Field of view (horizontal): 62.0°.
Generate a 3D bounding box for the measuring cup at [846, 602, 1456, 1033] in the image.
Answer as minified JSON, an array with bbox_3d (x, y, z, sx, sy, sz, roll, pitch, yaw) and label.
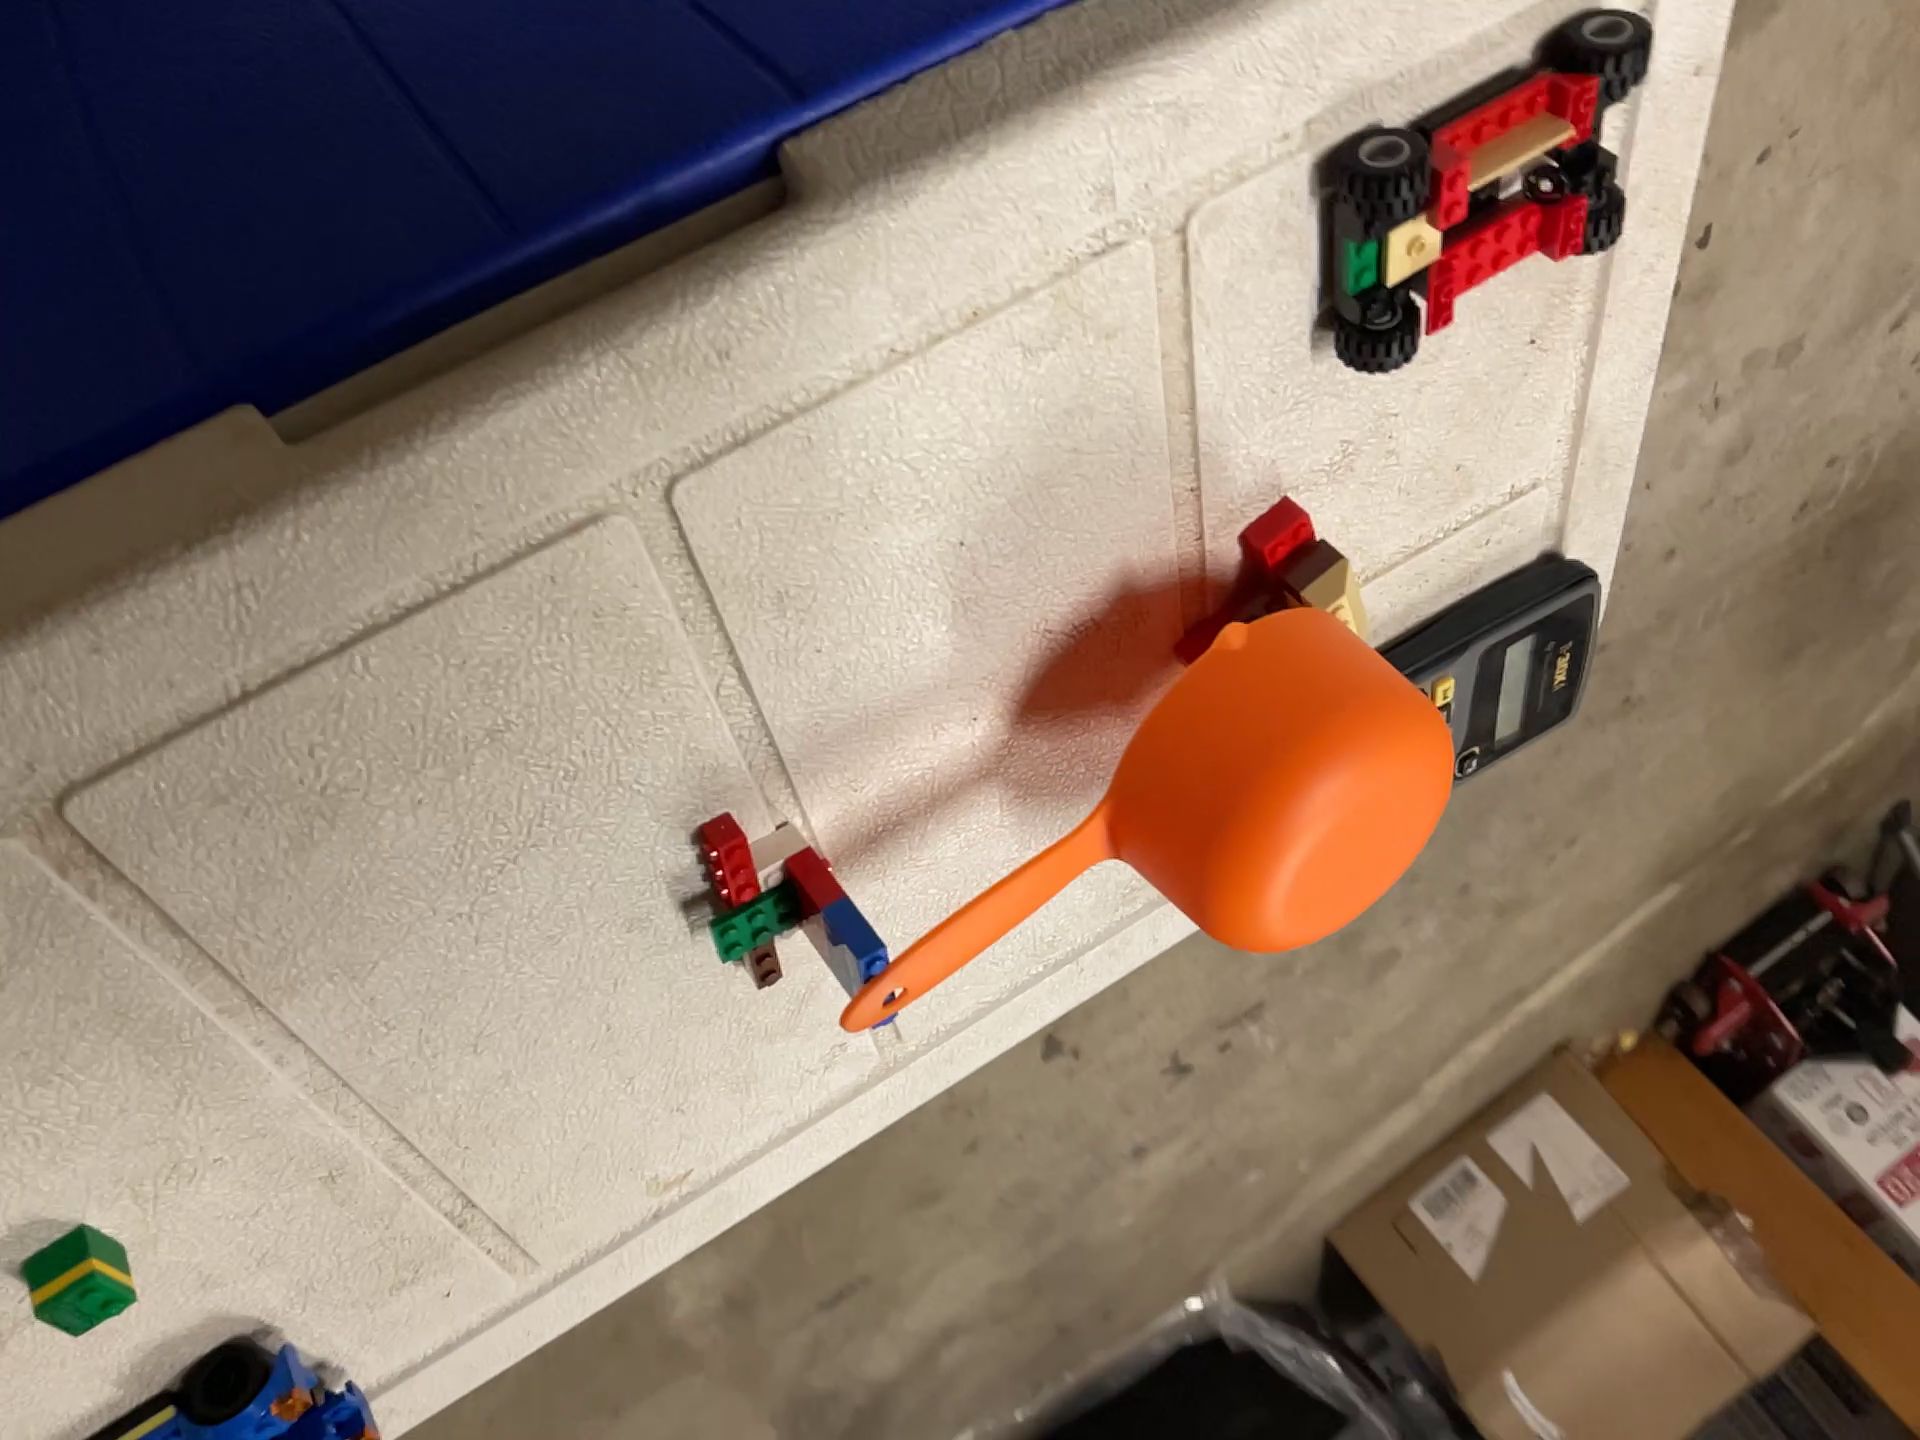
[{"bbox_3d":[0.054,0.042,0.407,0.173,0.052,0.095,-34,143,-17],"label":"measuring cup"}]
